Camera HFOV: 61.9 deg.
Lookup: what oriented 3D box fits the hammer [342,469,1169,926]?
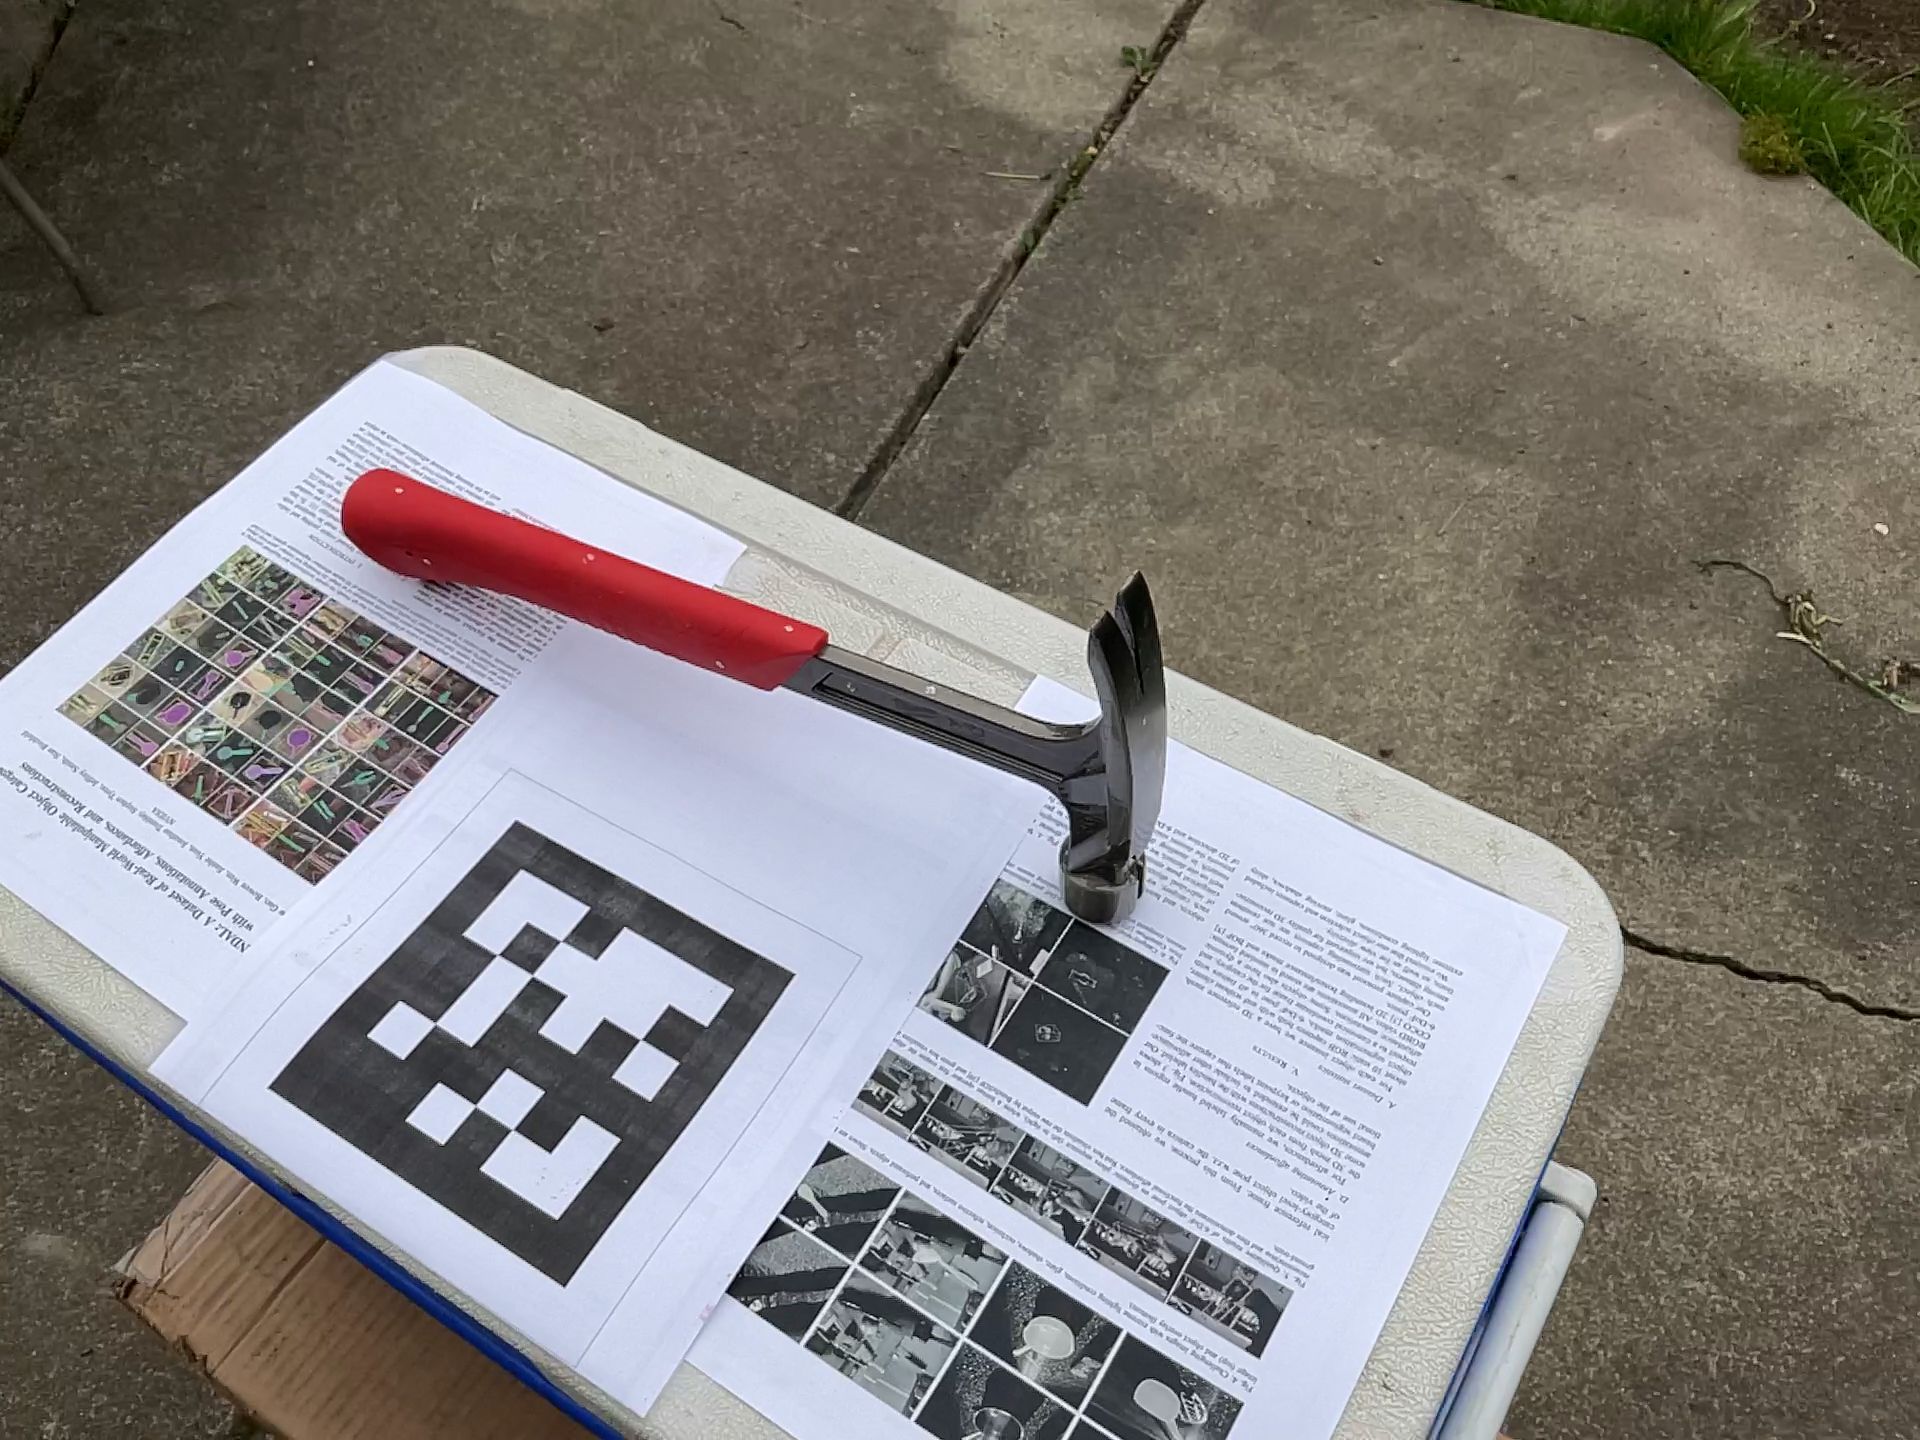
[{"bbox_3d":[-0.092,-0.039,0.591,0.359,0.149,0.036,21,52,23],"label":"hammer"}]
